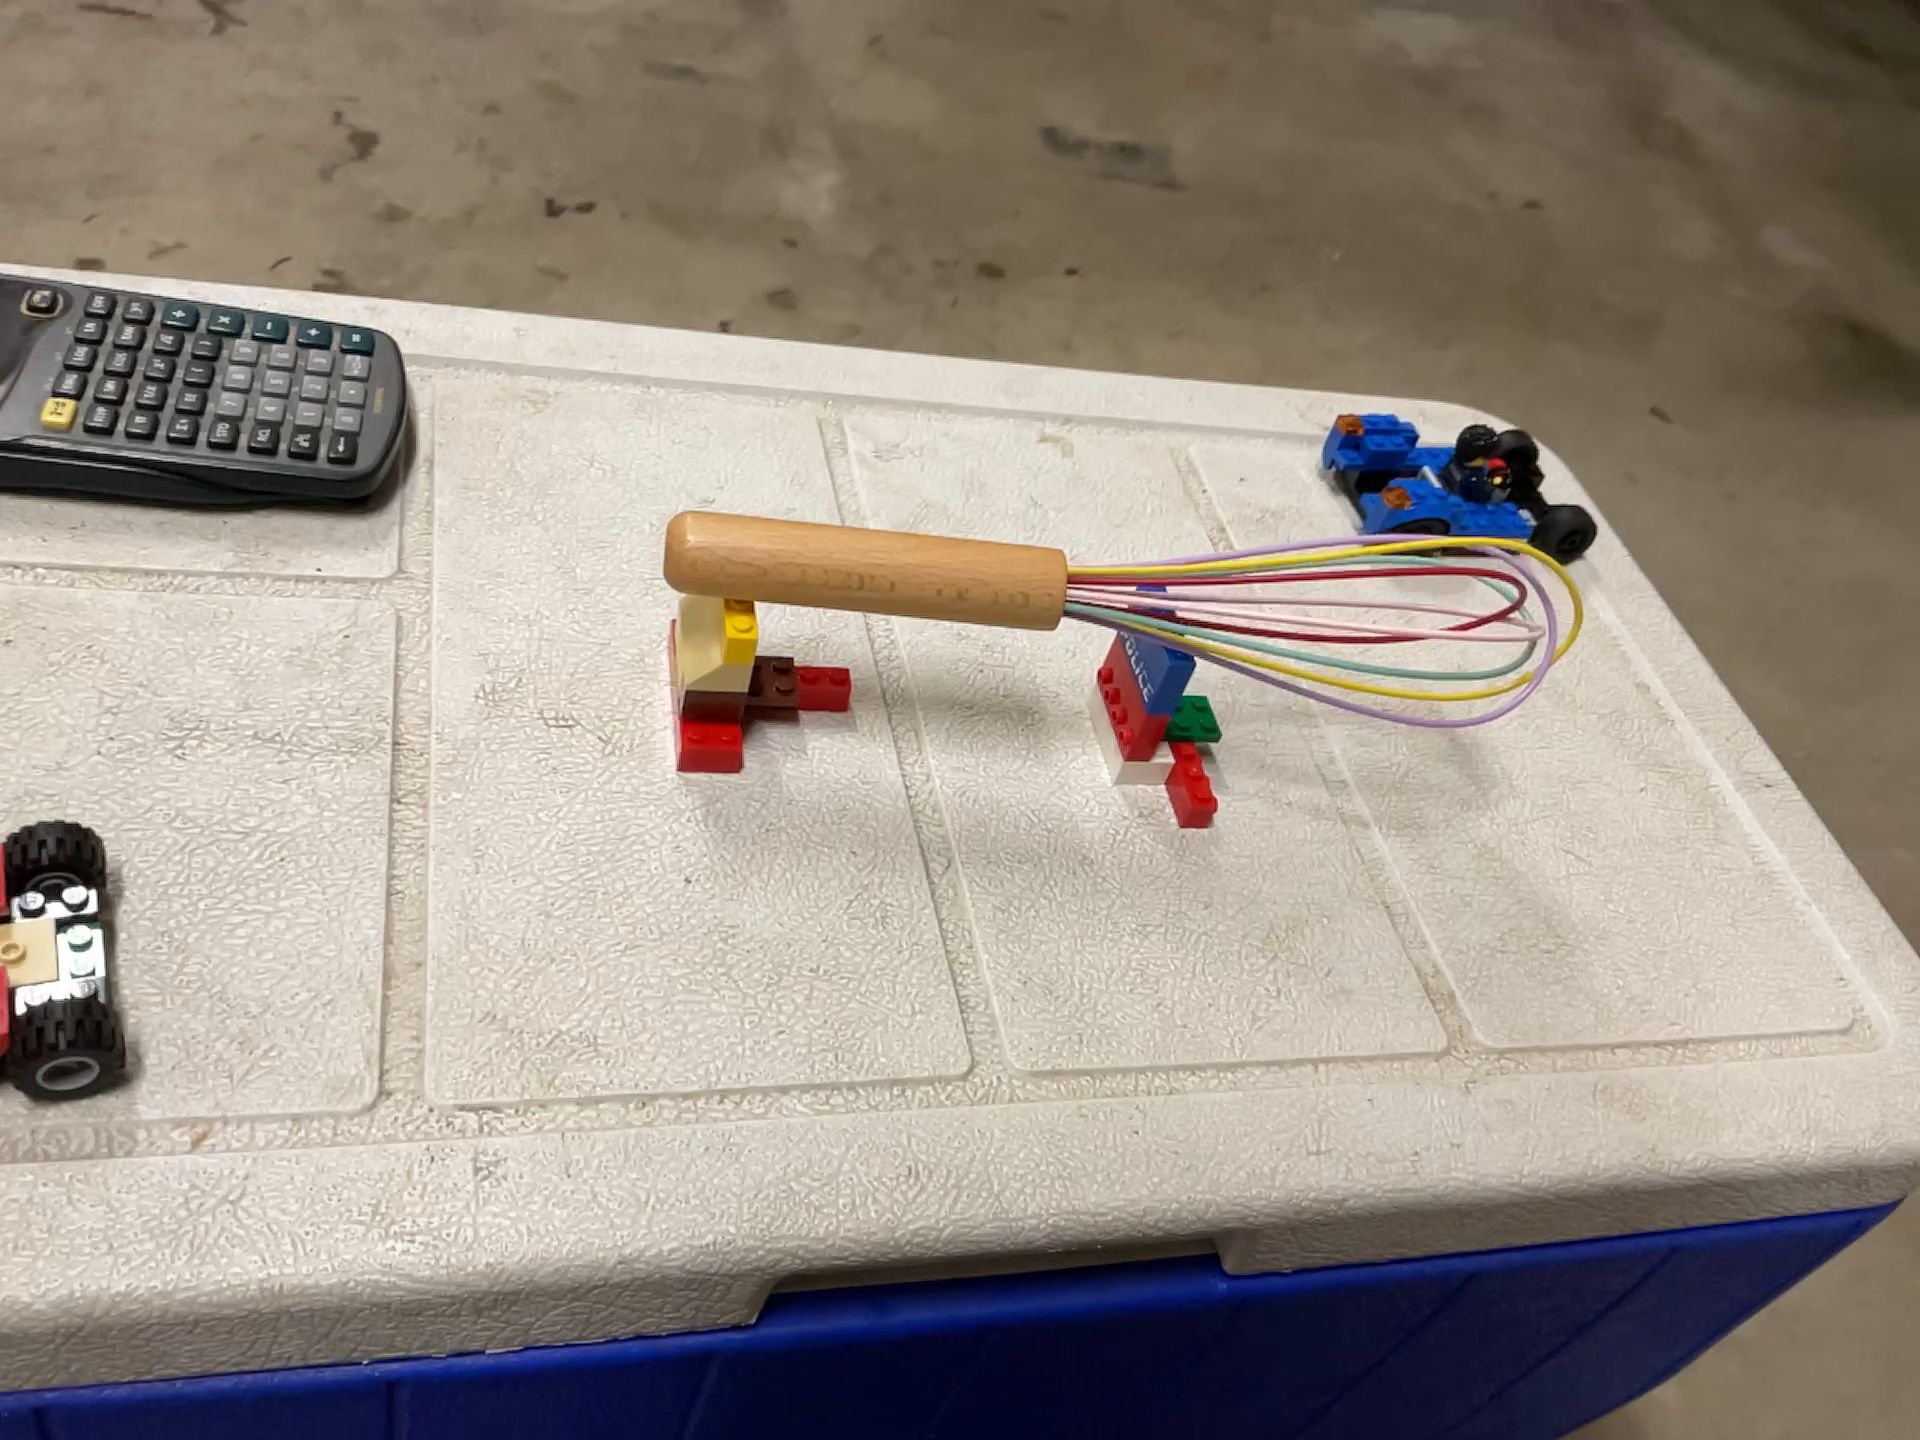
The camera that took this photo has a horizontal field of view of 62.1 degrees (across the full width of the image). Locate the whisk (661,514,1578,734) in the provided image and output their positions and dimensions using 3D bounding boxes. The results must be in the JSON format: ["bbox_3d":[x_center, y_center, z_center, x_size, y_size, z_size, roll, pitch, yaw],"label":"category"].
[{"bbox_3d":[0.047,-0.035,0.414,0.245,0.047,0.051,5,58,-11],"label":"whisk"}]
